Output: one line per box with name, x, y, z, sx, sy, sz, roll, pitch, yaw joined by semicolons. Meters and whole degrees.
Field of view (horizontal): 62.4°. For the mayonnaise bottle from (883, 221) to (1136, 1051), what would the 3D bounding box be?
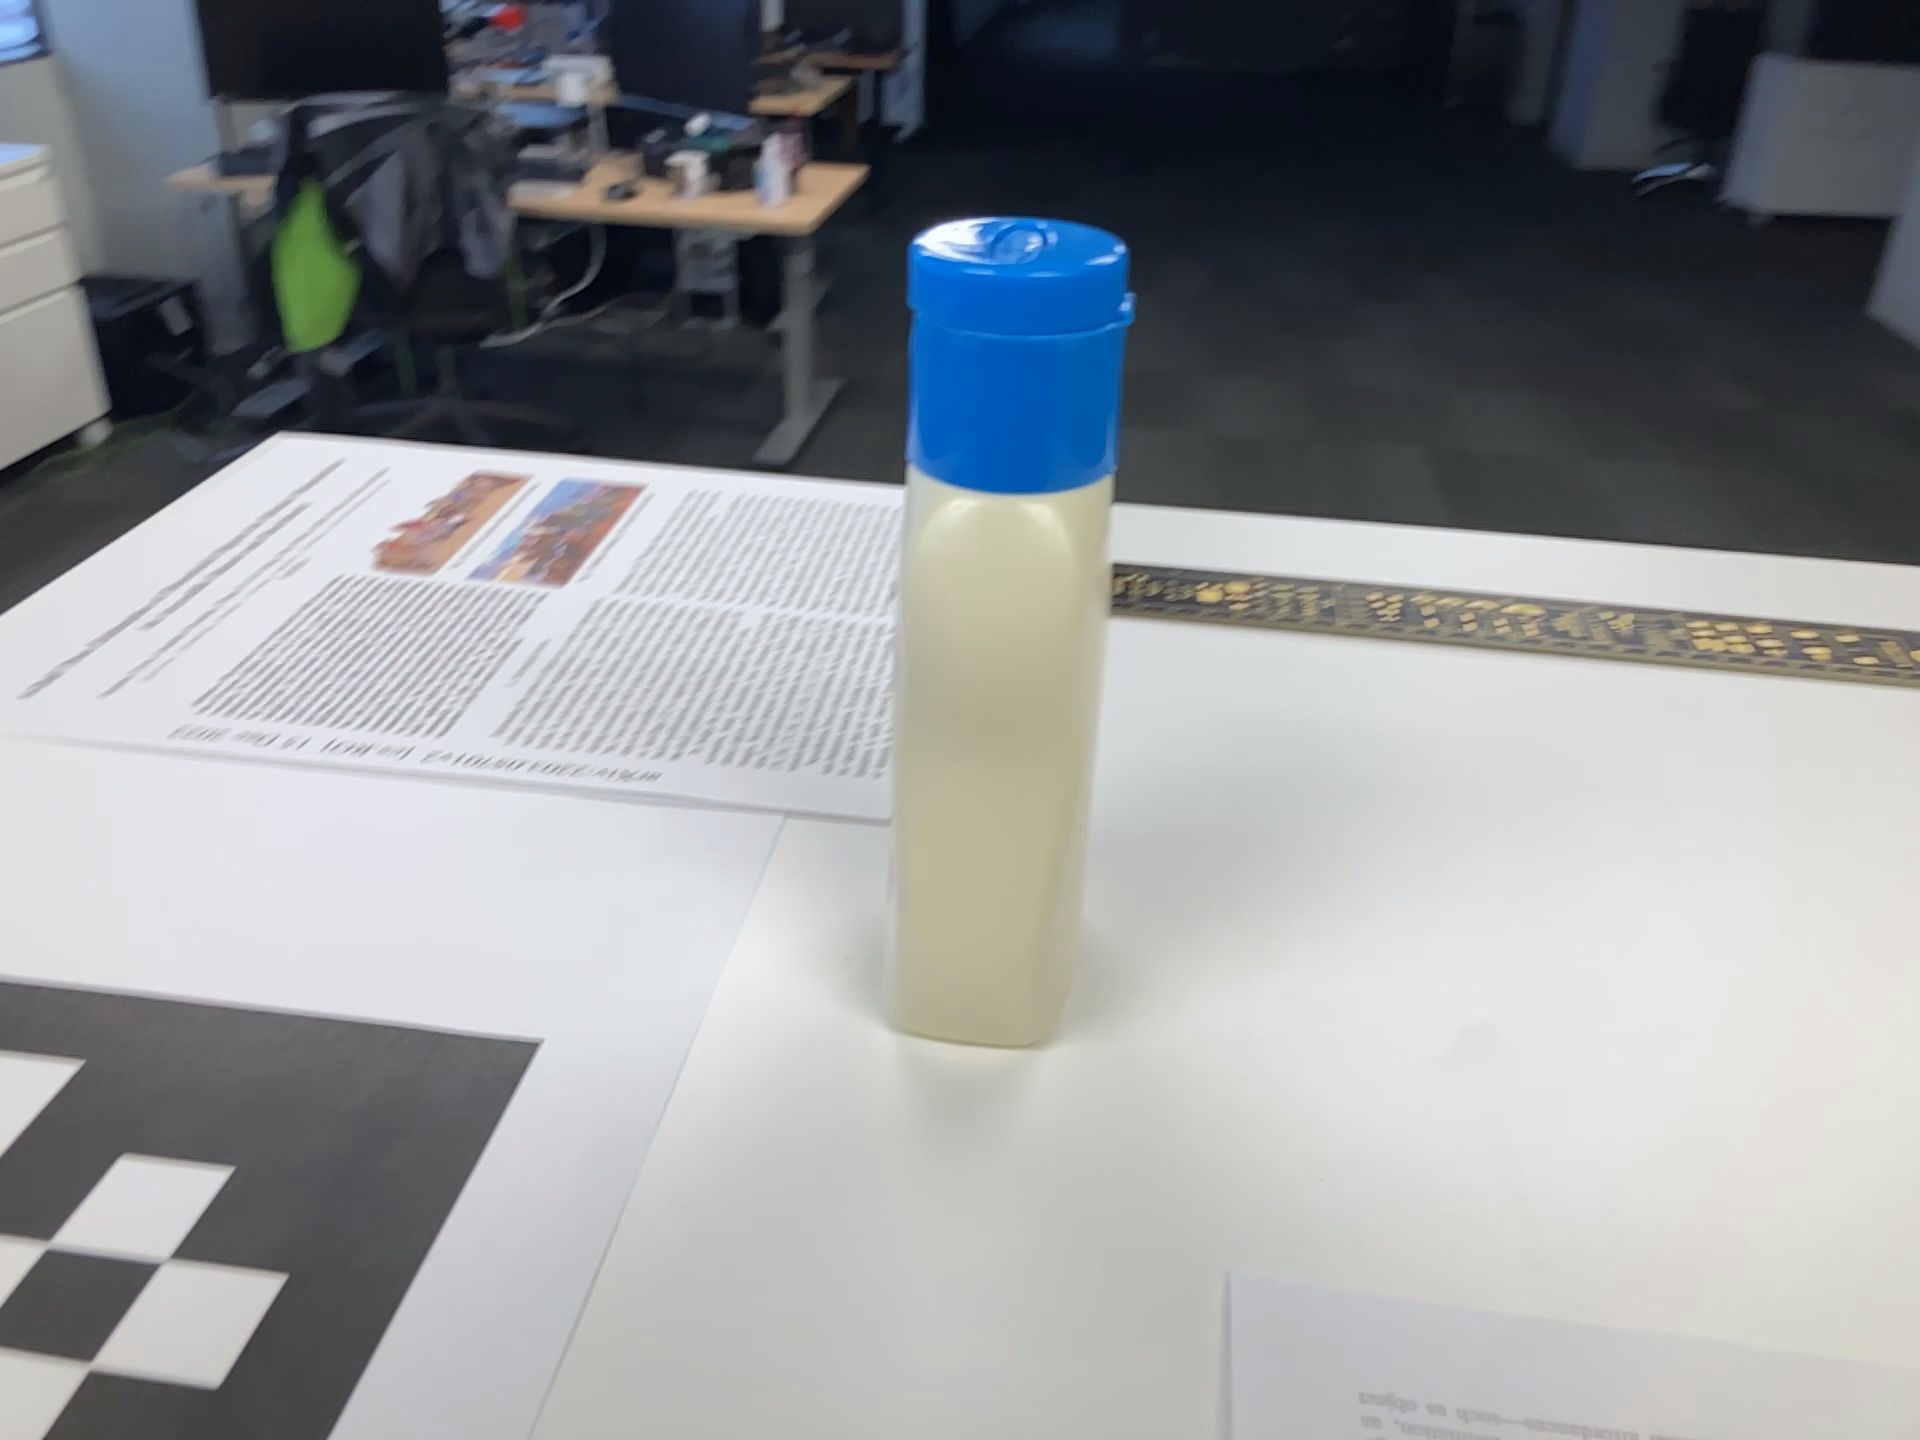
mayonnaise bottle;0.007;-0.014;0.294;0.041;0.148;0.065;5;29;6
